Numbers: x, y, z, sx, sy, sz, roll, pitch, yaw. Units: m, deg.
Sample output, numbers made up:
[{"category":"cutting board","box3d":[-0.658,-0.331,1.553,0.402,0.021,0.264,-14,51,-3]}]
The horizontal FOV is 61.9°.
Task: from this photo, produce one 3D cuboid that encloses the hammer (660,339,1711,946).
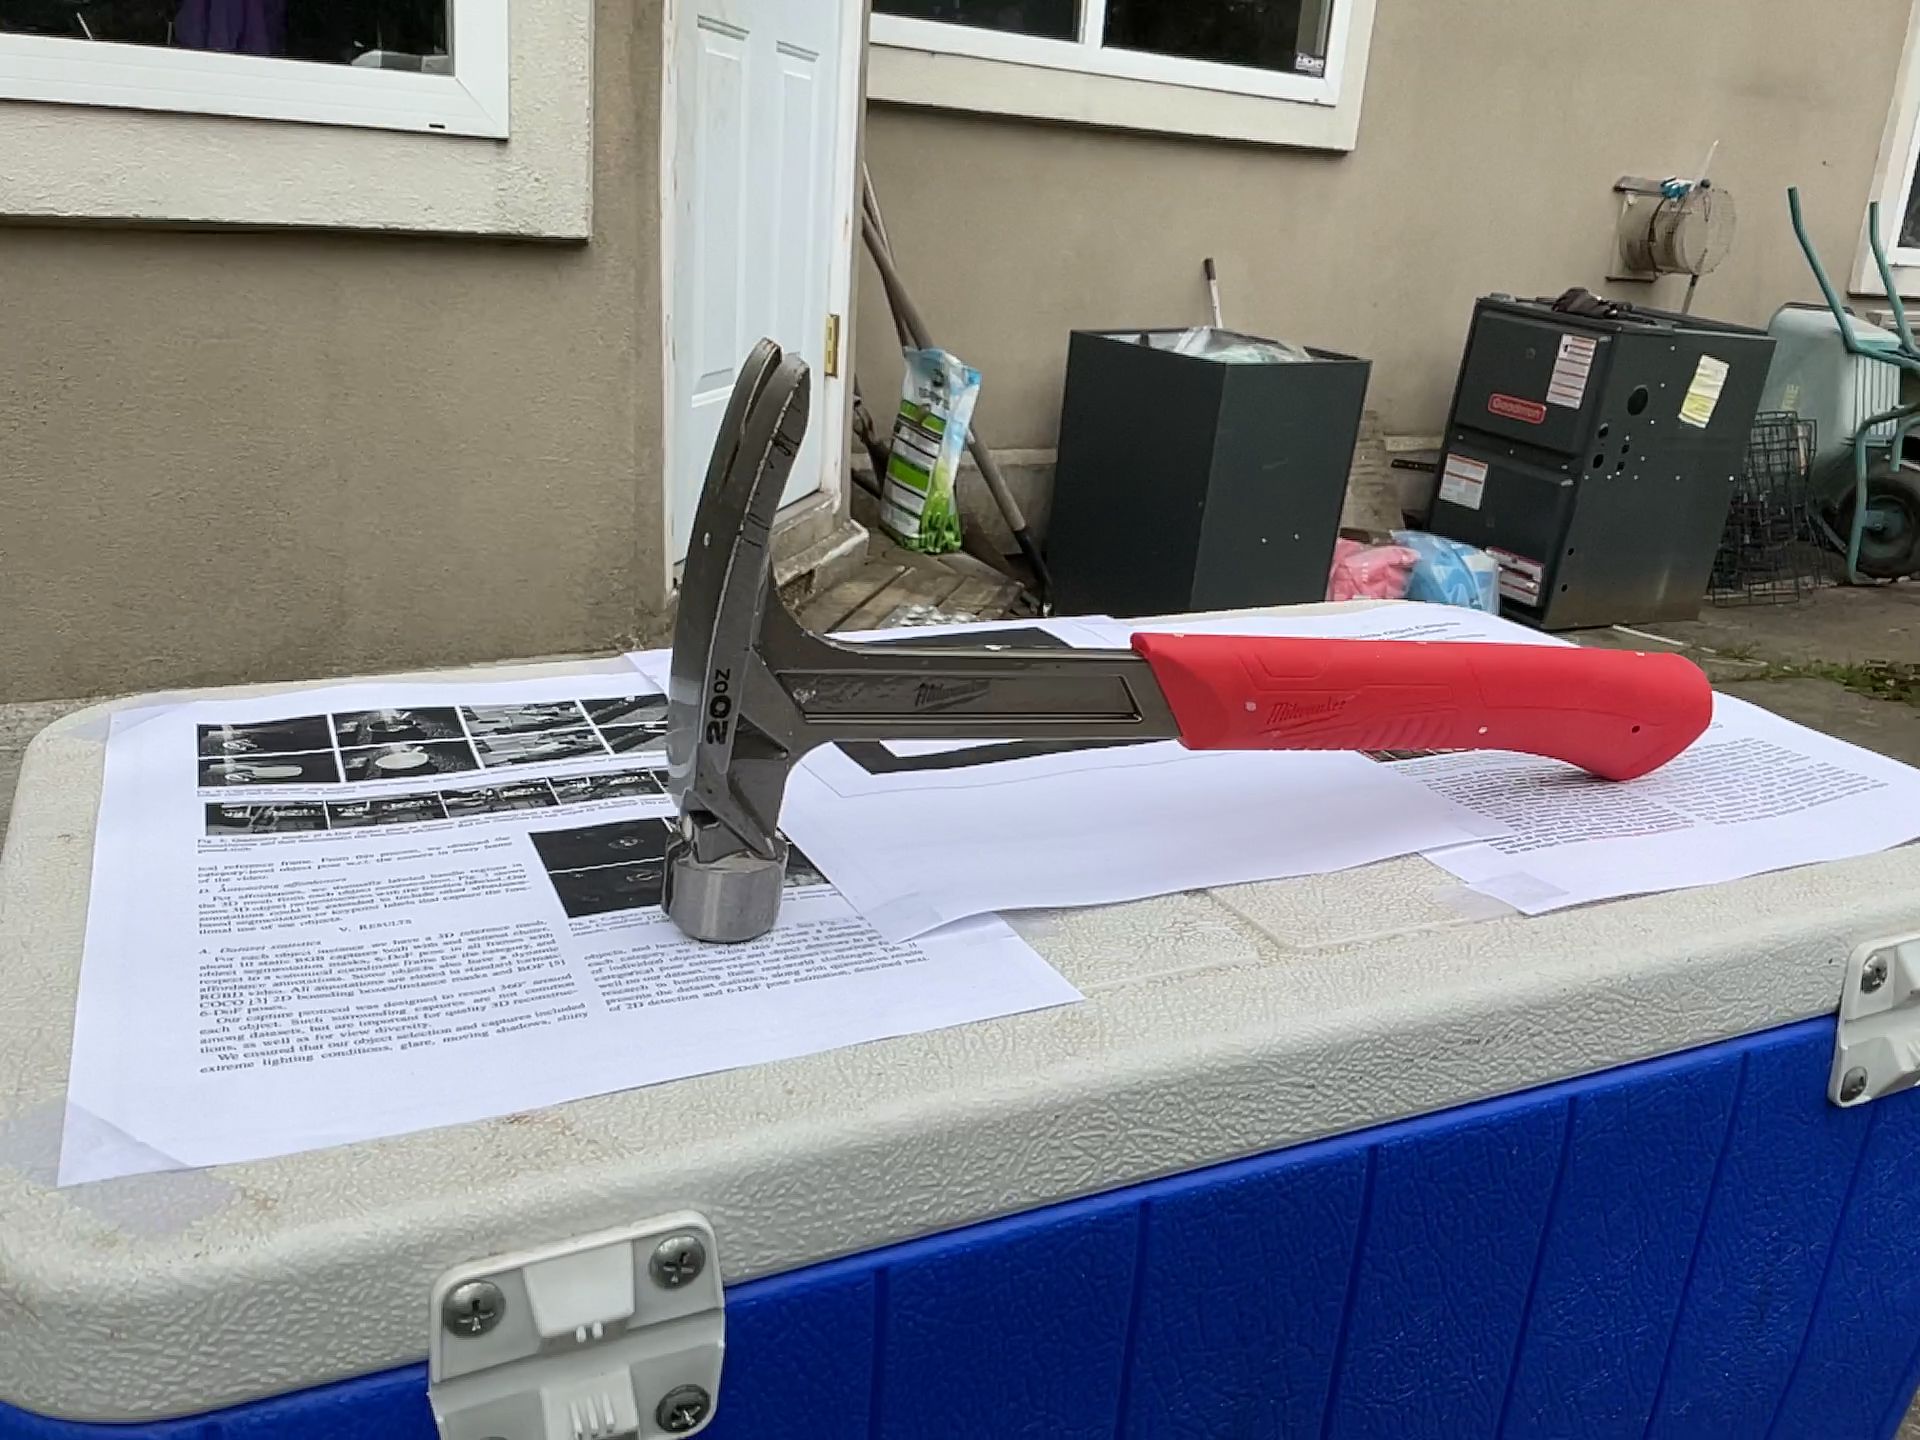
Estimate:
[{"category":"hammer","box3d":[0.092,-0.016,0.468,0.359,0.149,0.037,0,24,-29]}]
